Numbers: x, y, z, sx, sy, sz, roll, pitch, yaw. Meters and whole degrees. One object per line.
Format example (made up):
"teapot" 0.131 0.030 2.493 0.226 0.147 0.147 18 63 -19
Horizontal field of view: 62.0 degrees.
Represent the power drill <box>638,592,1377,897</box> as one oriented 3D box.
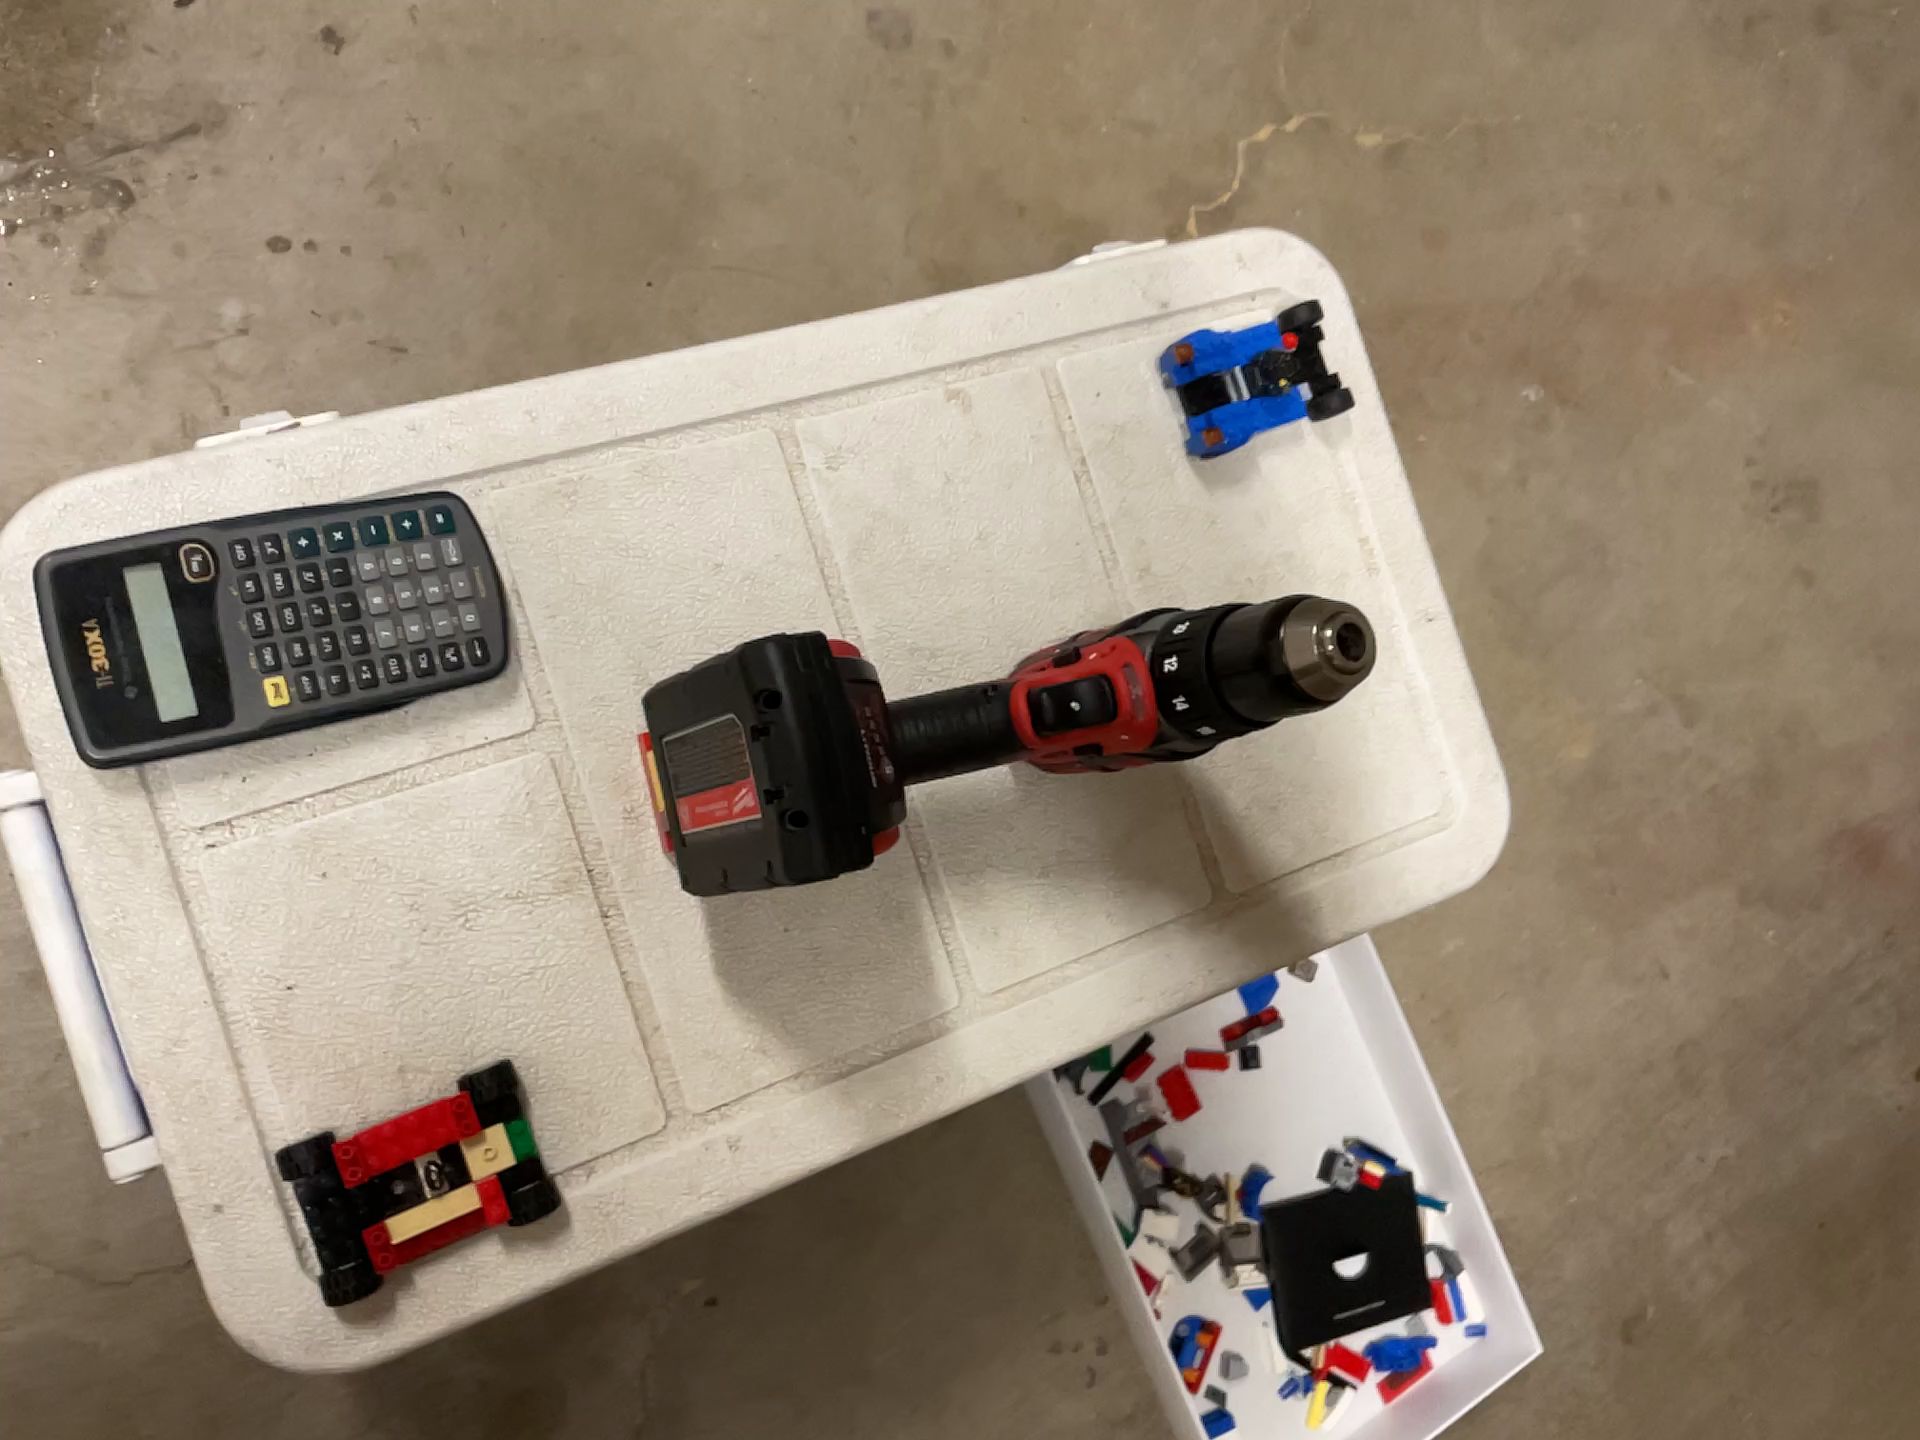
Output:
"power drill" 0.019 -0.001 0.582 0.227 0.187 0.080 -11 89 -32
